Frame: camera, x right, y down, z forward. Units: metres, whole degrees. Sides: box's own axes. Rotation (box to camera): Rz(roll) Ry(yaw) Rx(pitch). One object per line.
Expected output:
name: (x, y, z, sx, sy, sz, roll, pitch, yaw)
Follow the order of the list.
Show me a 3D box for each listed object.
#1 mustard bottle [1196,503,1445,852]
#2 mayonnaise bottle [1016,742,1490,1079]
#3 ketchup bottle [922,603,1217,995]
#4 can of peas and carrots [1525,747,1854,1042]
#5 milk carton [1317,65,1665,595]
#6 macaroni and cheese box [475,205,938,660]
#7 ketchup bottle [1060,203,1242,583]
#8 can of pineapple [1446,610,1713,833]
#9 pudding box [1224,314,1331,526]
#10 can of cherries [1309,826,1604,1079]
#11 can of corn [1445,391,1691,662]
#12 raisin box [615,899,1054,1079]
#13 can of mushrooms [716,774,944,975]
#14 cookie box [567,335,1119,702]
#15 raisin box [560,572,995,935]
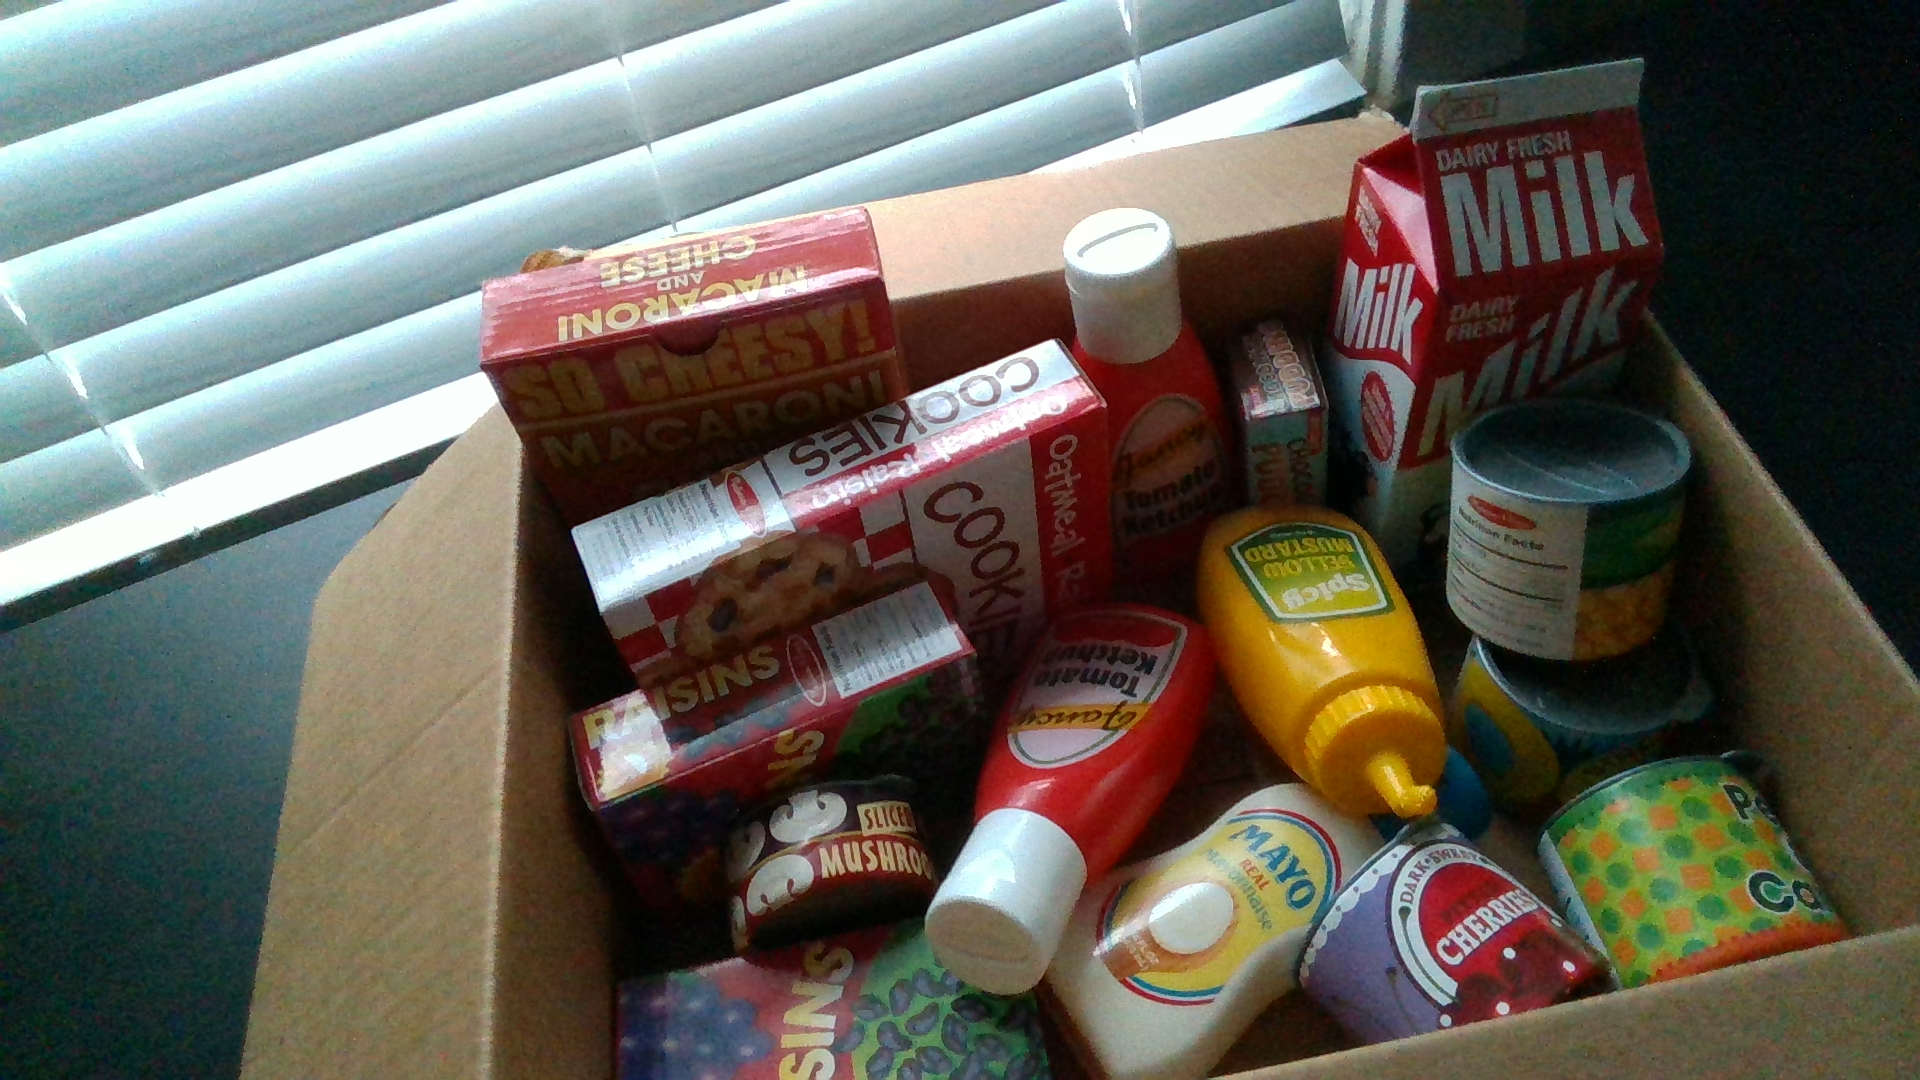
mustard bottle: (0.119, 0.041, 0.443, 0.065, 0.048, 0.161, -7, 28, -1)
mayonnaise bottle: (0.093, 0.108, 0.424, 0.148, 0.041, 0.065, -28, 49, -16)
ketchup bottle: (0.034, 0.075, 0.433, 0.065, 0.043, 0.149, 2, 29, 24)
can of peas and carrots: (0.210, 0.102, 0.400, 0.071, 0.070, 0.059, -12, 51, -3)
milk carton: (0.170, -0.069, 0.467, 0.072, 0.189, 0.074, -10, 50, -4)
macaroni and cheese box: (-0.077, -0.028, 0.479, 0.124, 0.165, 0.040, -12, 54, -3)
ketchup bottle: (0.063, -0.048, 0.487, 0.065, 0.148, 0.044, -23, 48, -4)
can of pineapple: (0.196, 0.054, 0.449, 0.071, 0.057, 0.071, -2, 45, 2)
pudding box: (0.116, -0.036, 0.513, 0.030, 0.083, 0.050, -9, 51, 4)
can of cherries: (0.149, 0.129, 0.419, 0.072, 0.071, 0.058, -31, 50, -18)
can of corn: (0.187, -0.006, 0.429, 0.071, 0.058, 0.071, -7, 33, 5)
raisin box: (-0.034, 0.159, 0.398, 0.123, 0.039, 0.086, -11, 47, -1)
can of mushrooms: (-0.038, 0.104, 0.427, 0.071, 0.070, 0.033, -14, 51, -5)
cookie box: (-0.029, 0.013, 0.467, 0.168, 0.122, 0.040, -23, 52, -11)
raisin box: (-0.053, 0.071, 0.447, 0.123, 0.085, 0.040, -21, 51, -10)
